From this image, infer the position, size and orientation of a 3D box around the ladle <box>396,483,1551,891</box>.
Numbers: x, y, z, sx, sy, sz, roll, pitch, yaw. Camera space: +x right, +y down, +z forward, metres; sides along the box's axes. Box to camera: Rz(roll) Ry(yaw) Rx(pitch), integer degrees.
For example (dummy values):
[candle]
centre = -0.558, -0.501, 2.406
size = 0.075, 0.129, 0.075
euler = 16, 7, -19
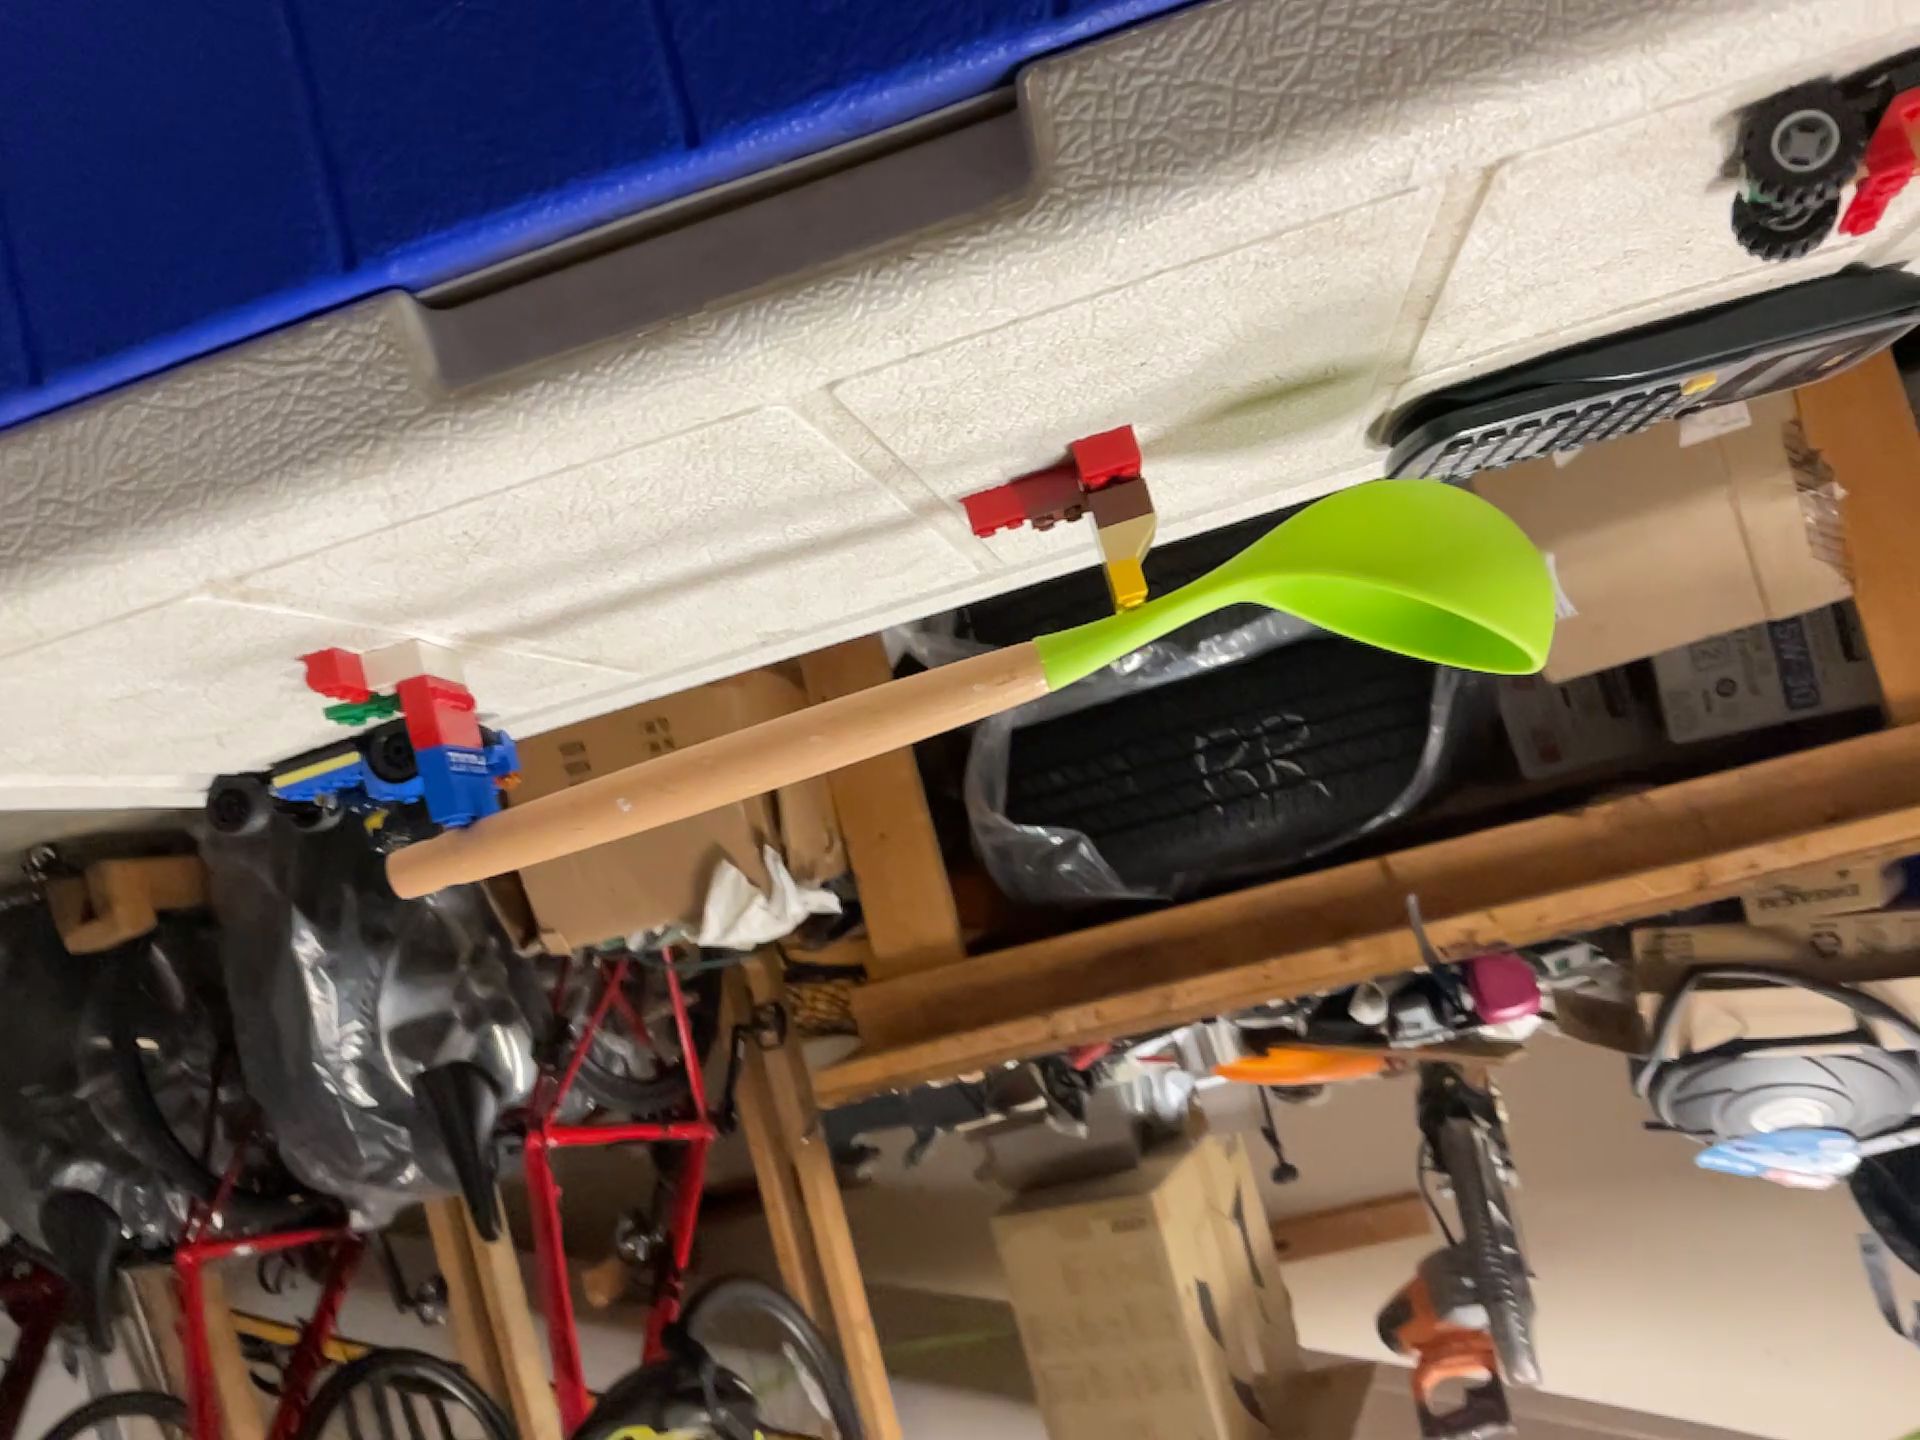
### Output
[ladle]
centre = 0.002, 0.004, 0.436
size = 0.320, 0.062, 0.078
euler = -18, 176, 1
